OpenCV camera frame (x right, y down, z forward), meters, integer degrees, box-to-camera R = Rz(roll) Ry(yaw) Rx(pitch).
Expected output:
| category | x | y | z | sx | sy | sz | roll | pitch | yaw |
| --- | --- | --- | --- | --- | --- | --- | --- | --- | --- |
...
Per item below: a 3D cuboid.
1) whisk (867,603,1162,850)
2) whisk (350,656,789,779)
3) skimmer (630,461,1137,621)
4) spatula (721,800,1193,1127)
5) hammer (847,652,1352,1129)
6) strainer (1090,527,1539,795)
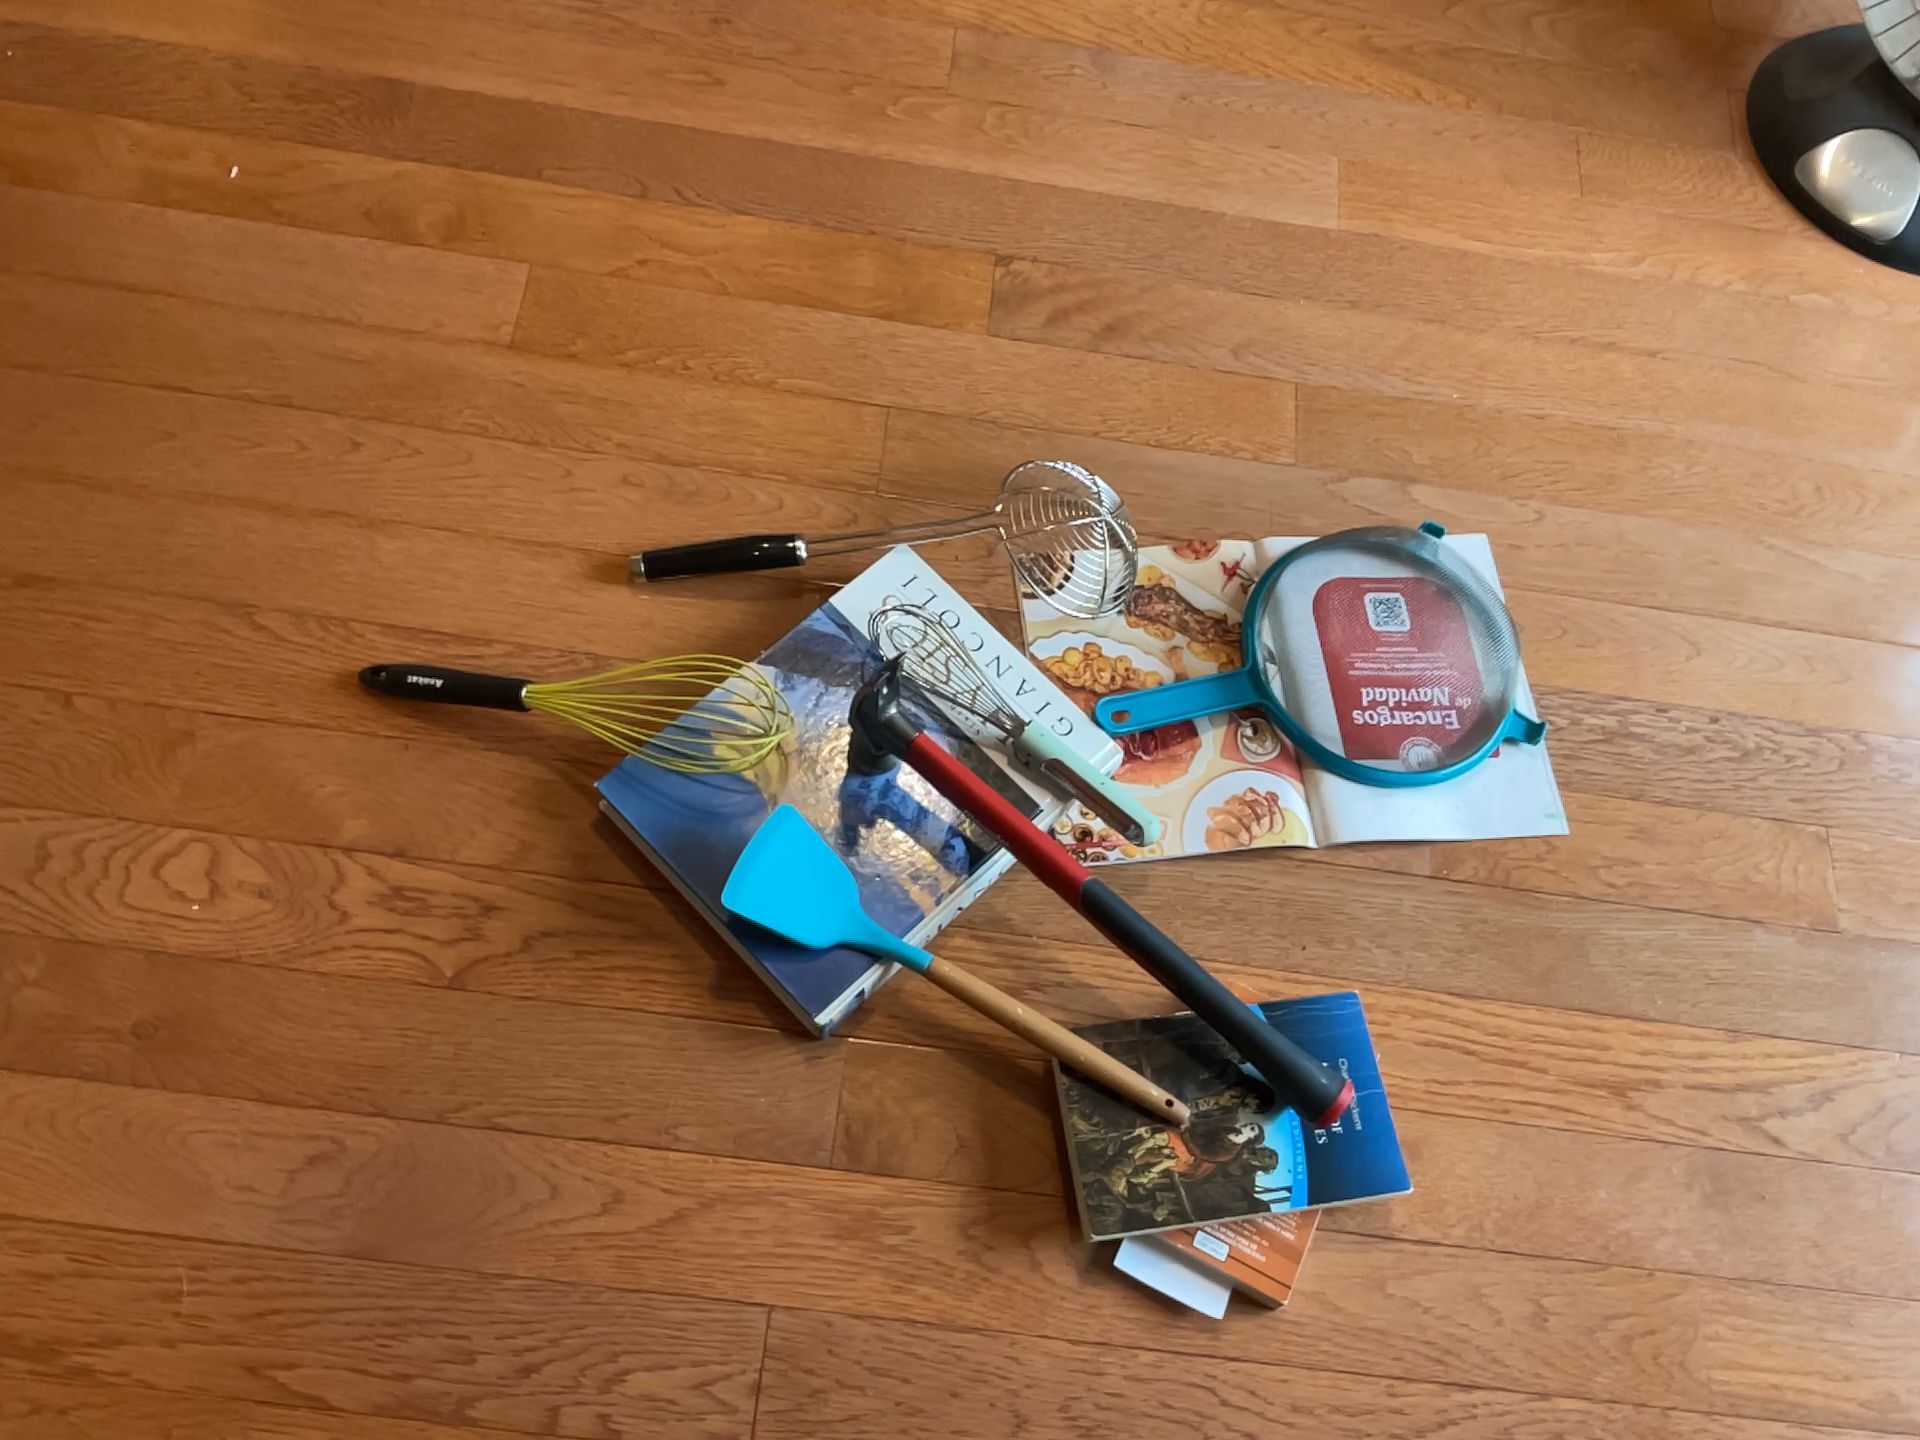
| category | x | y | z | sx | sy | sz | roll | pitch | yaw |
| --- | --- | --- | --- | --- | --- | --- | --- | --- | --- |
| whisk | 0.035 | 0.005 | 1.068 | 0.246 | 0.057 | 0.059 | 39 | 35 | 6 |
| whisk | -0.260 | -0.013 | 1.049 | 0.311 | 0.067 | 0.080 | 7 | 79 | 12 |
| skimmer | -0.051 | -0.117 | 1.160 | 0.363 | 0.090 | 0.127 | -7 | 68 | 1 |
| spatula | 0.005 | 0.164 | 0.986 | 0.317 | 0.044 | 0.082 | 29 | 63 | 6 |
| hammer | 0.085 | 0.108 | 0.980 | 0.386 | 0.143 | 0.038 | 40 | 70 | 8 |
| strainer | 0.256 | -0.048 | 1.121 | 0.340 | 0.095 | 0.211 | -11 | 68 | -20 |
